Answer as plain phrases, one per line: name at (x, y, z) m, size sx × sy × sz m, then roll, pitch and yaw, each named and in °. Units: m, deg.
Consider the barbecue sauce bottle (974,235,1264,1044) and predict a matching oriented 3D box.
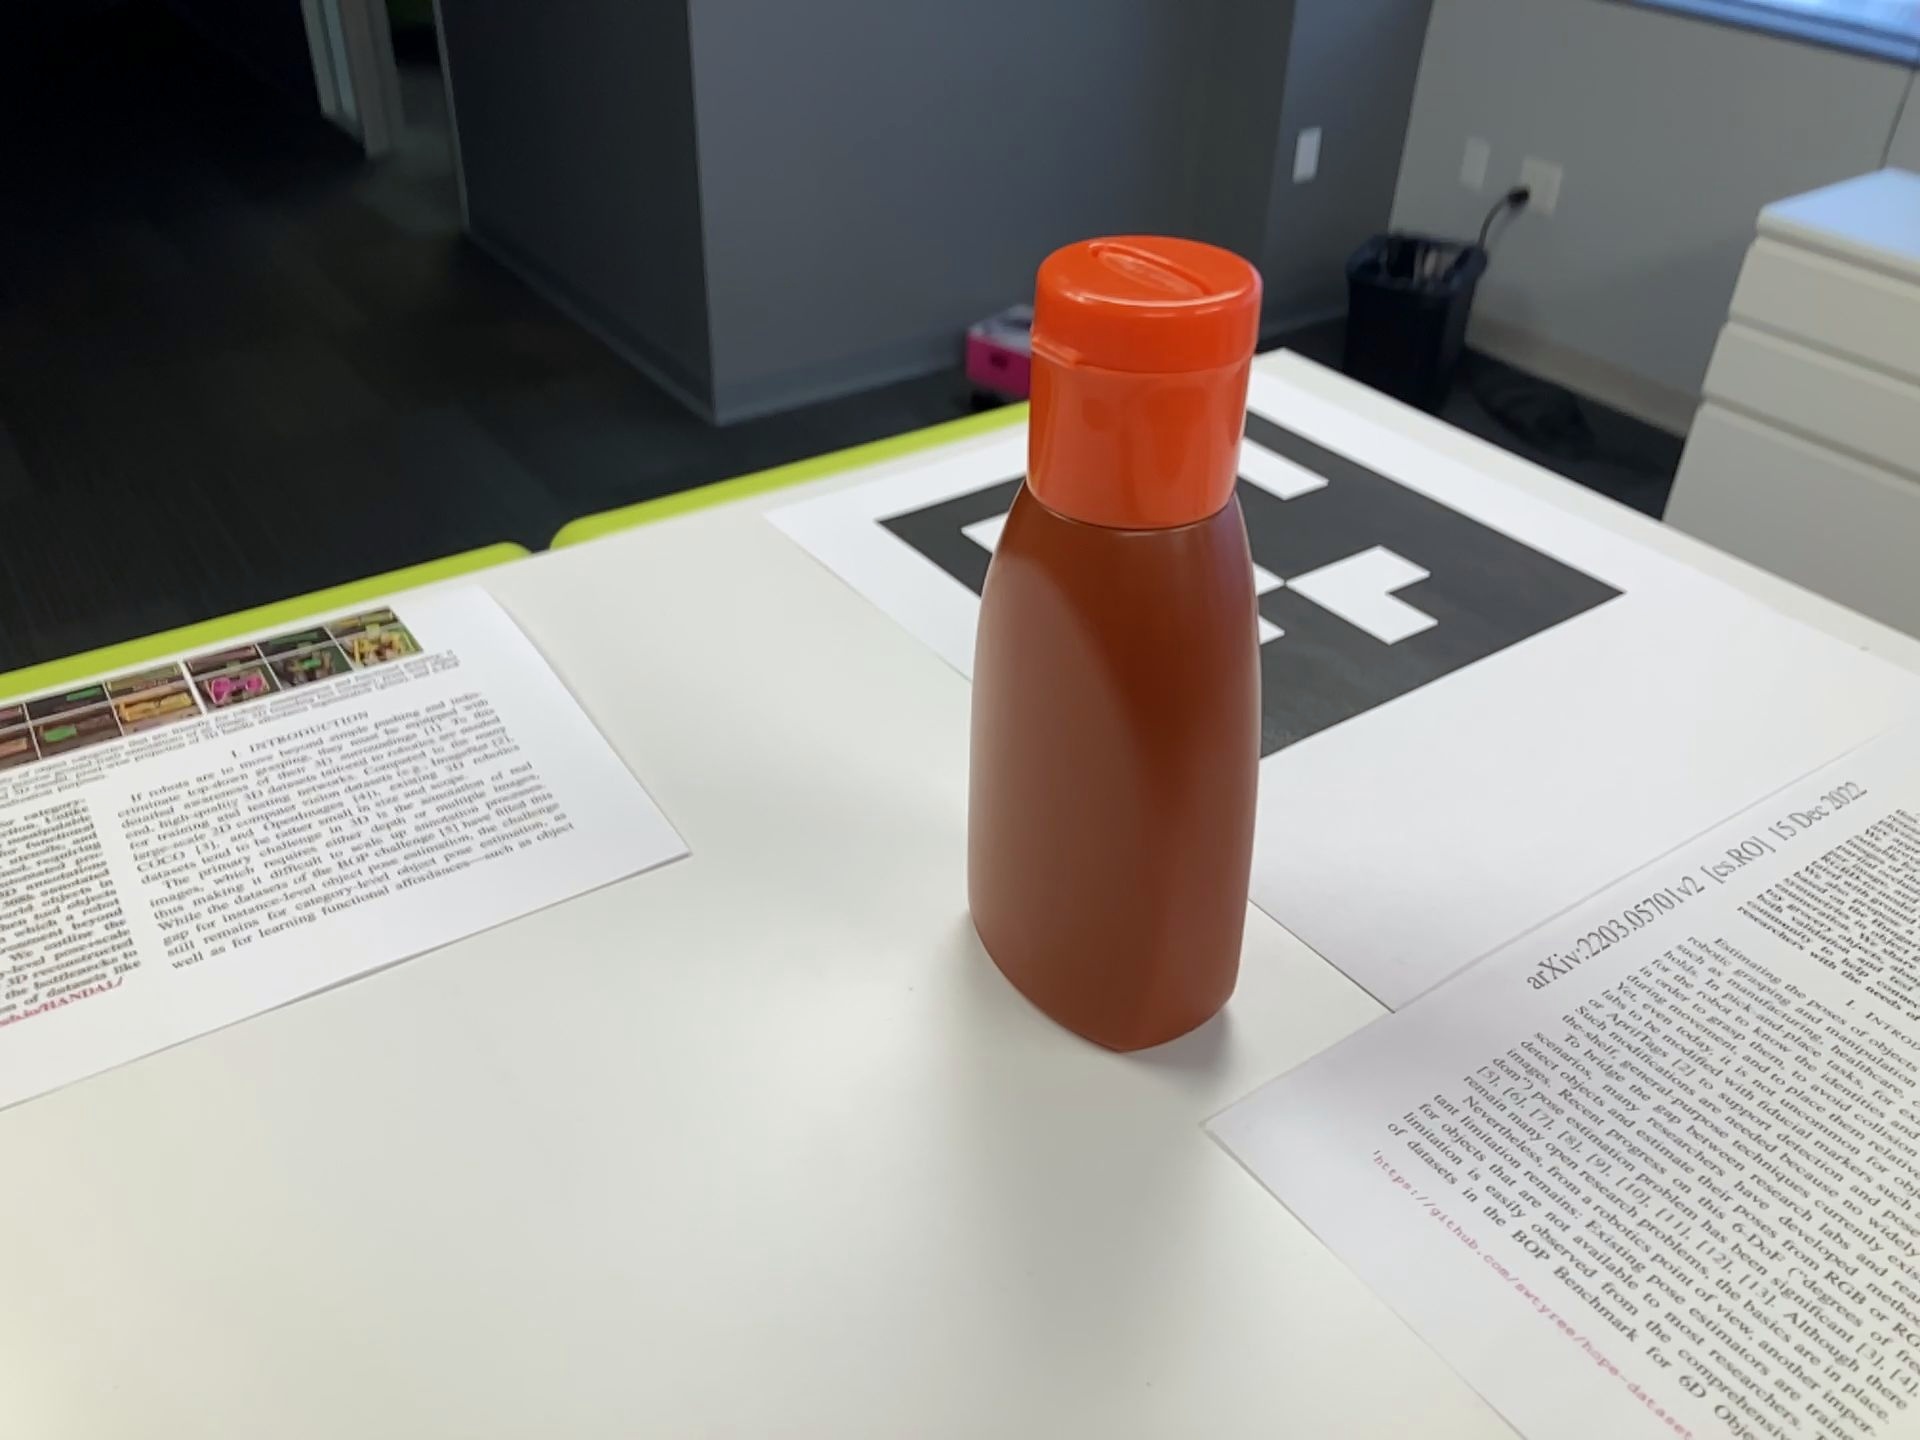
barbecue sauce bottle at (0.030, -0.012, 0.298) m, size 0.043 × 0.148 × 0.065 m, roll -20°, pitch 39°, yaw -27°
